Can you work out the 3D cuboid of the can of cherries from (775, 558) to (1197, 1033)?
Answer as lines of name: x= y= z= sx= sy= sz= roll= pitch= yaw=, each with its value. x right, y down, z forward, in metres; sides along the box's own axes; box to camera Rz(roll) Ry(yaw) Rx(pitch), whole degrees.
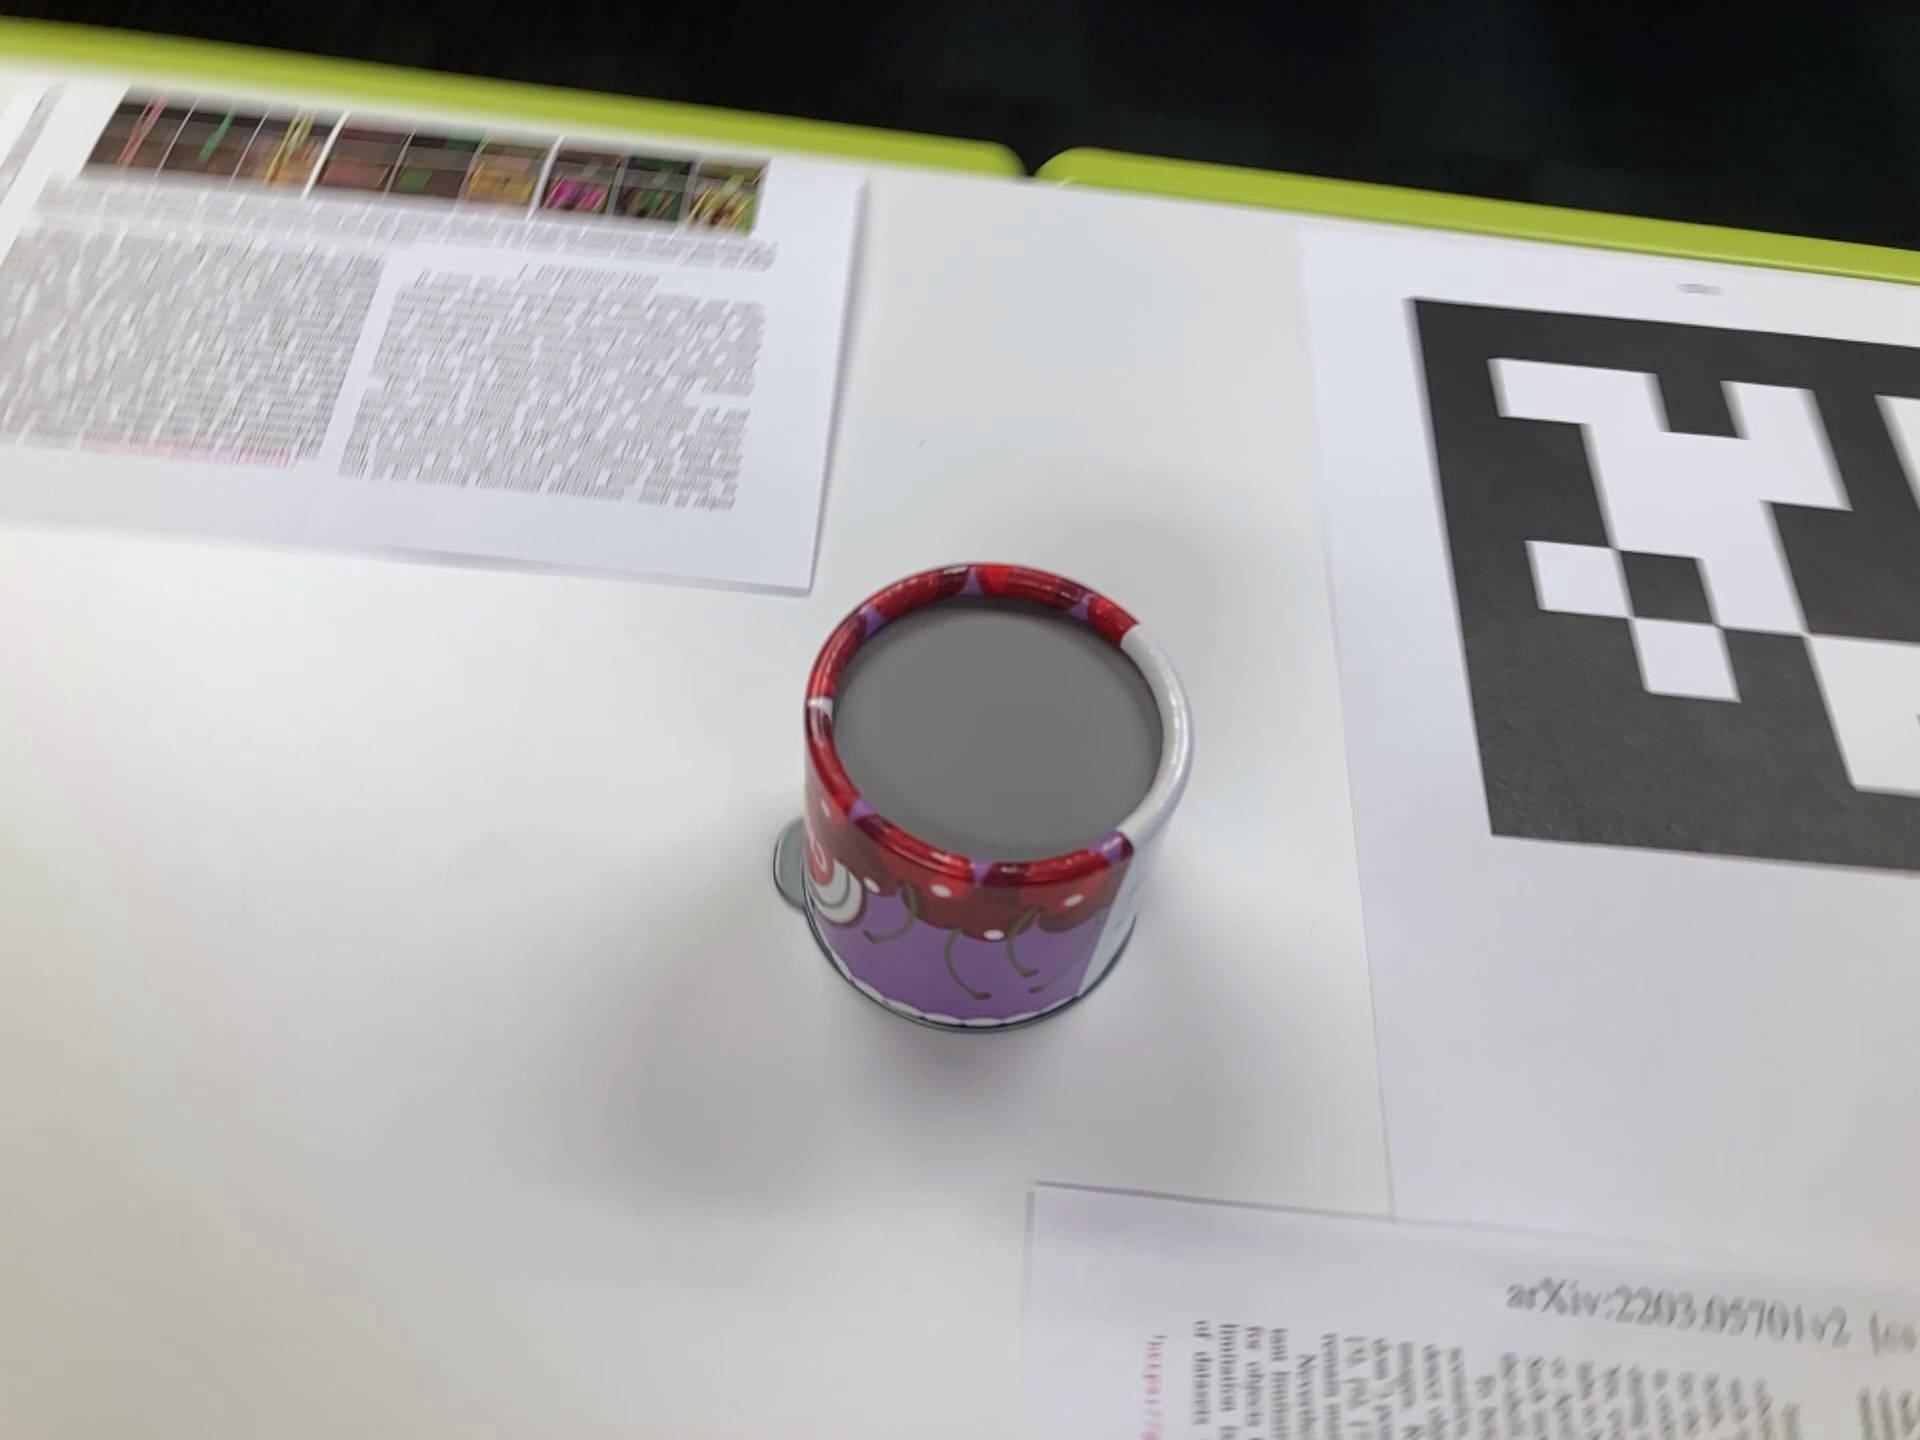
can of cherries: x=0.002 y=0.013 z=0.282 sx=0.071 sy=0.058 sz=0.071 roll=2 pitch=57 yaw=-4
